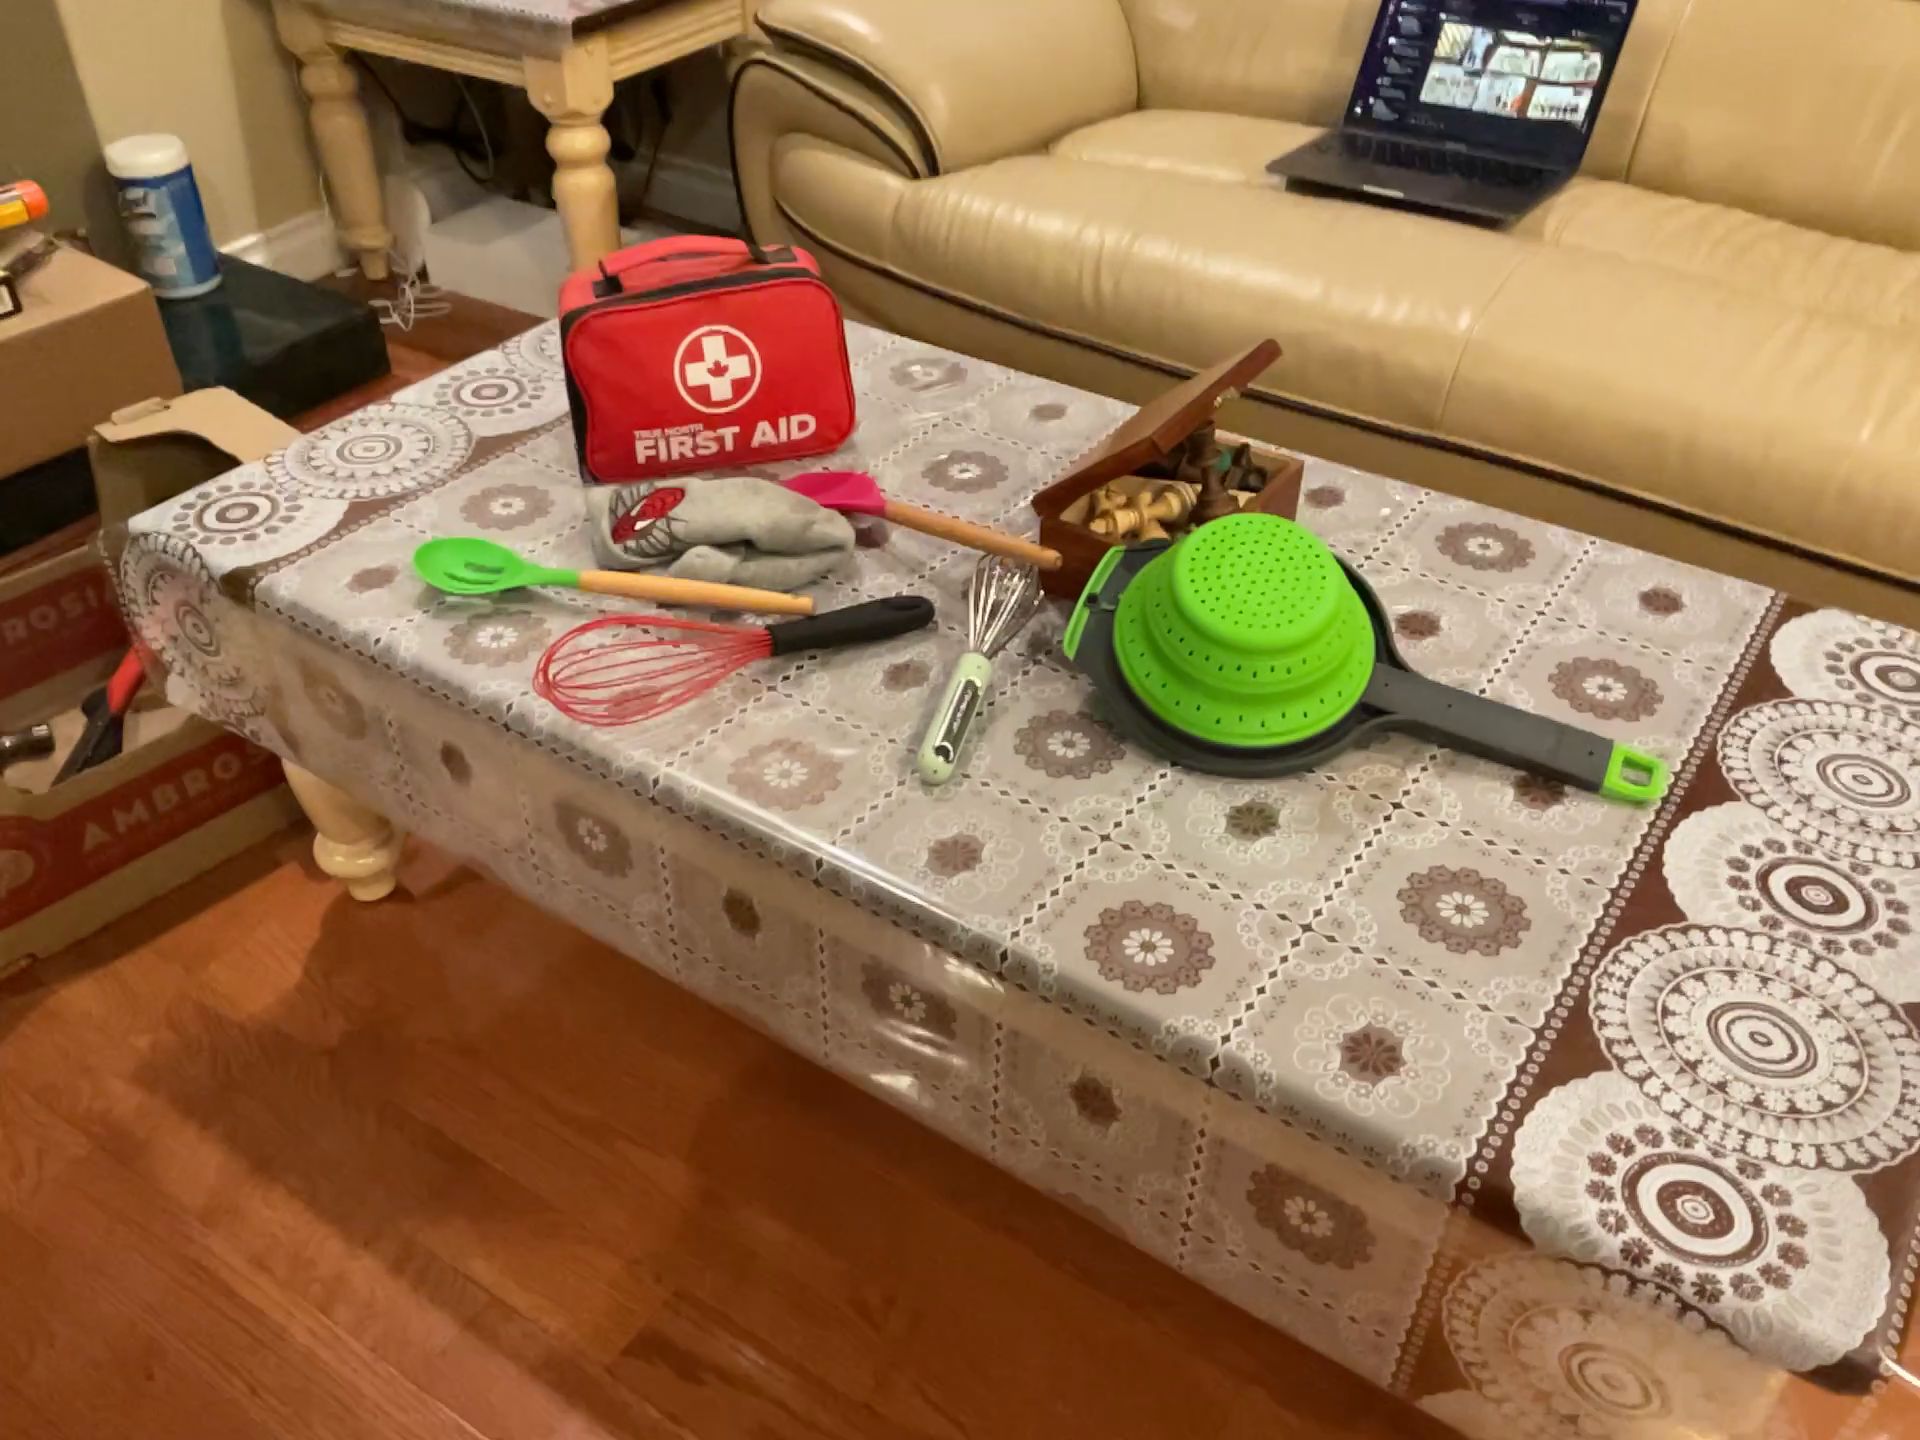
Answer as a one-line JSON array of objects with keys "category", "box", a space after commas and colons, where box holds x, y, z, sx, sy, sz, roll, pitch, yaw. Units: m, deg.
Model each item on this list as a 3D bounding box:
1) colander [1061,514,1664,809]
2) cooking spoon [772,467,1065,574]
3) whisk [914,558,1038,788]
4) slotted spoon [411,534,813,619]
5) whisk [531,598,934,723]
[{"category": "colander", "box": [0.265, -0.040, 1.031, 0.397, 0.094, 0.205, 20, 61, 13]}, {"category": "cooking spoon", "box": [-0.039, -0.156, 1.227, 0.069, 0.017, 0.319, -32, 37, -32]}, {"category": "whisk", "box": [0.012, -0.036, 1.105, 0.058, 0.059, 0.247, -28, 25, 35]}, {"category": "slotted spoon", "box": [-0.257, -0.099, 1.168, 0.314, 0.031, 0.070, 8, 38, 14]}, {"category": "whisk", "box": [-0.151, -0.053, 1.108, 0.295, 0.073, 0.073, -12, 33, -26]}]
